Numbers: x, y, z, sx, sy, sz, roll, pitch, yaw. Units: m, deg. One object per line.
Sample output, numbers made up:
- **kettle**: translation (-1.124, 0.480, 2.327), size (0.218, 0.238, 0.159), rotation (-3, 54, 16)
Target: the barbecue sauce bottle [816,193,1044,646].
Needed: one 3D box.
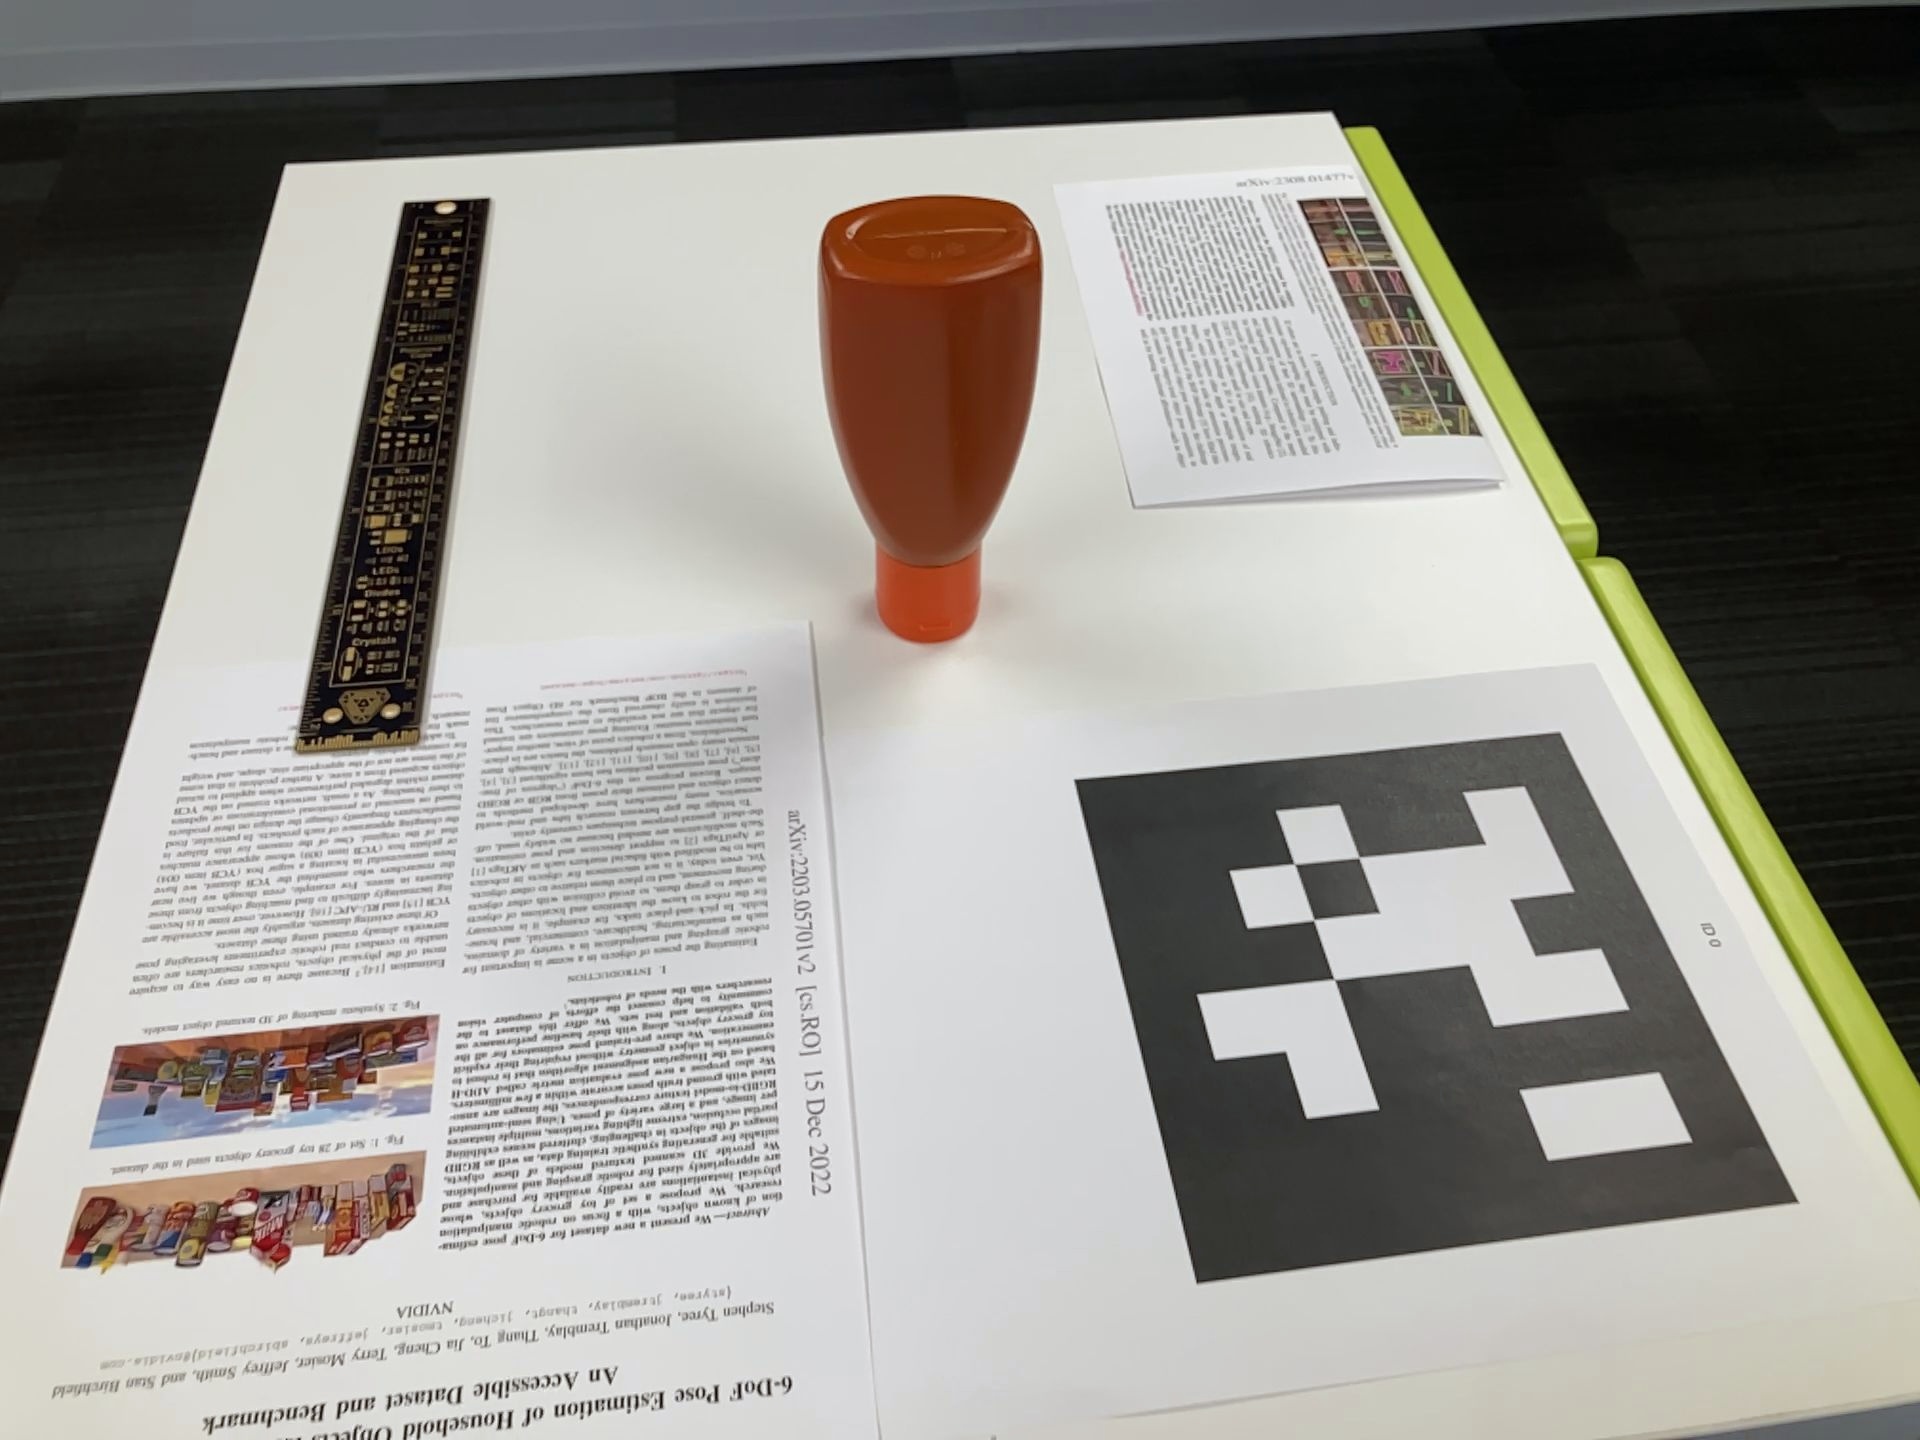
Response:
- **barbecue sauce bottle**: translation (-0.010, -0.086, 0.492), size (0.065, 0.148, 0.043), rotation (-6, 49, -7)
